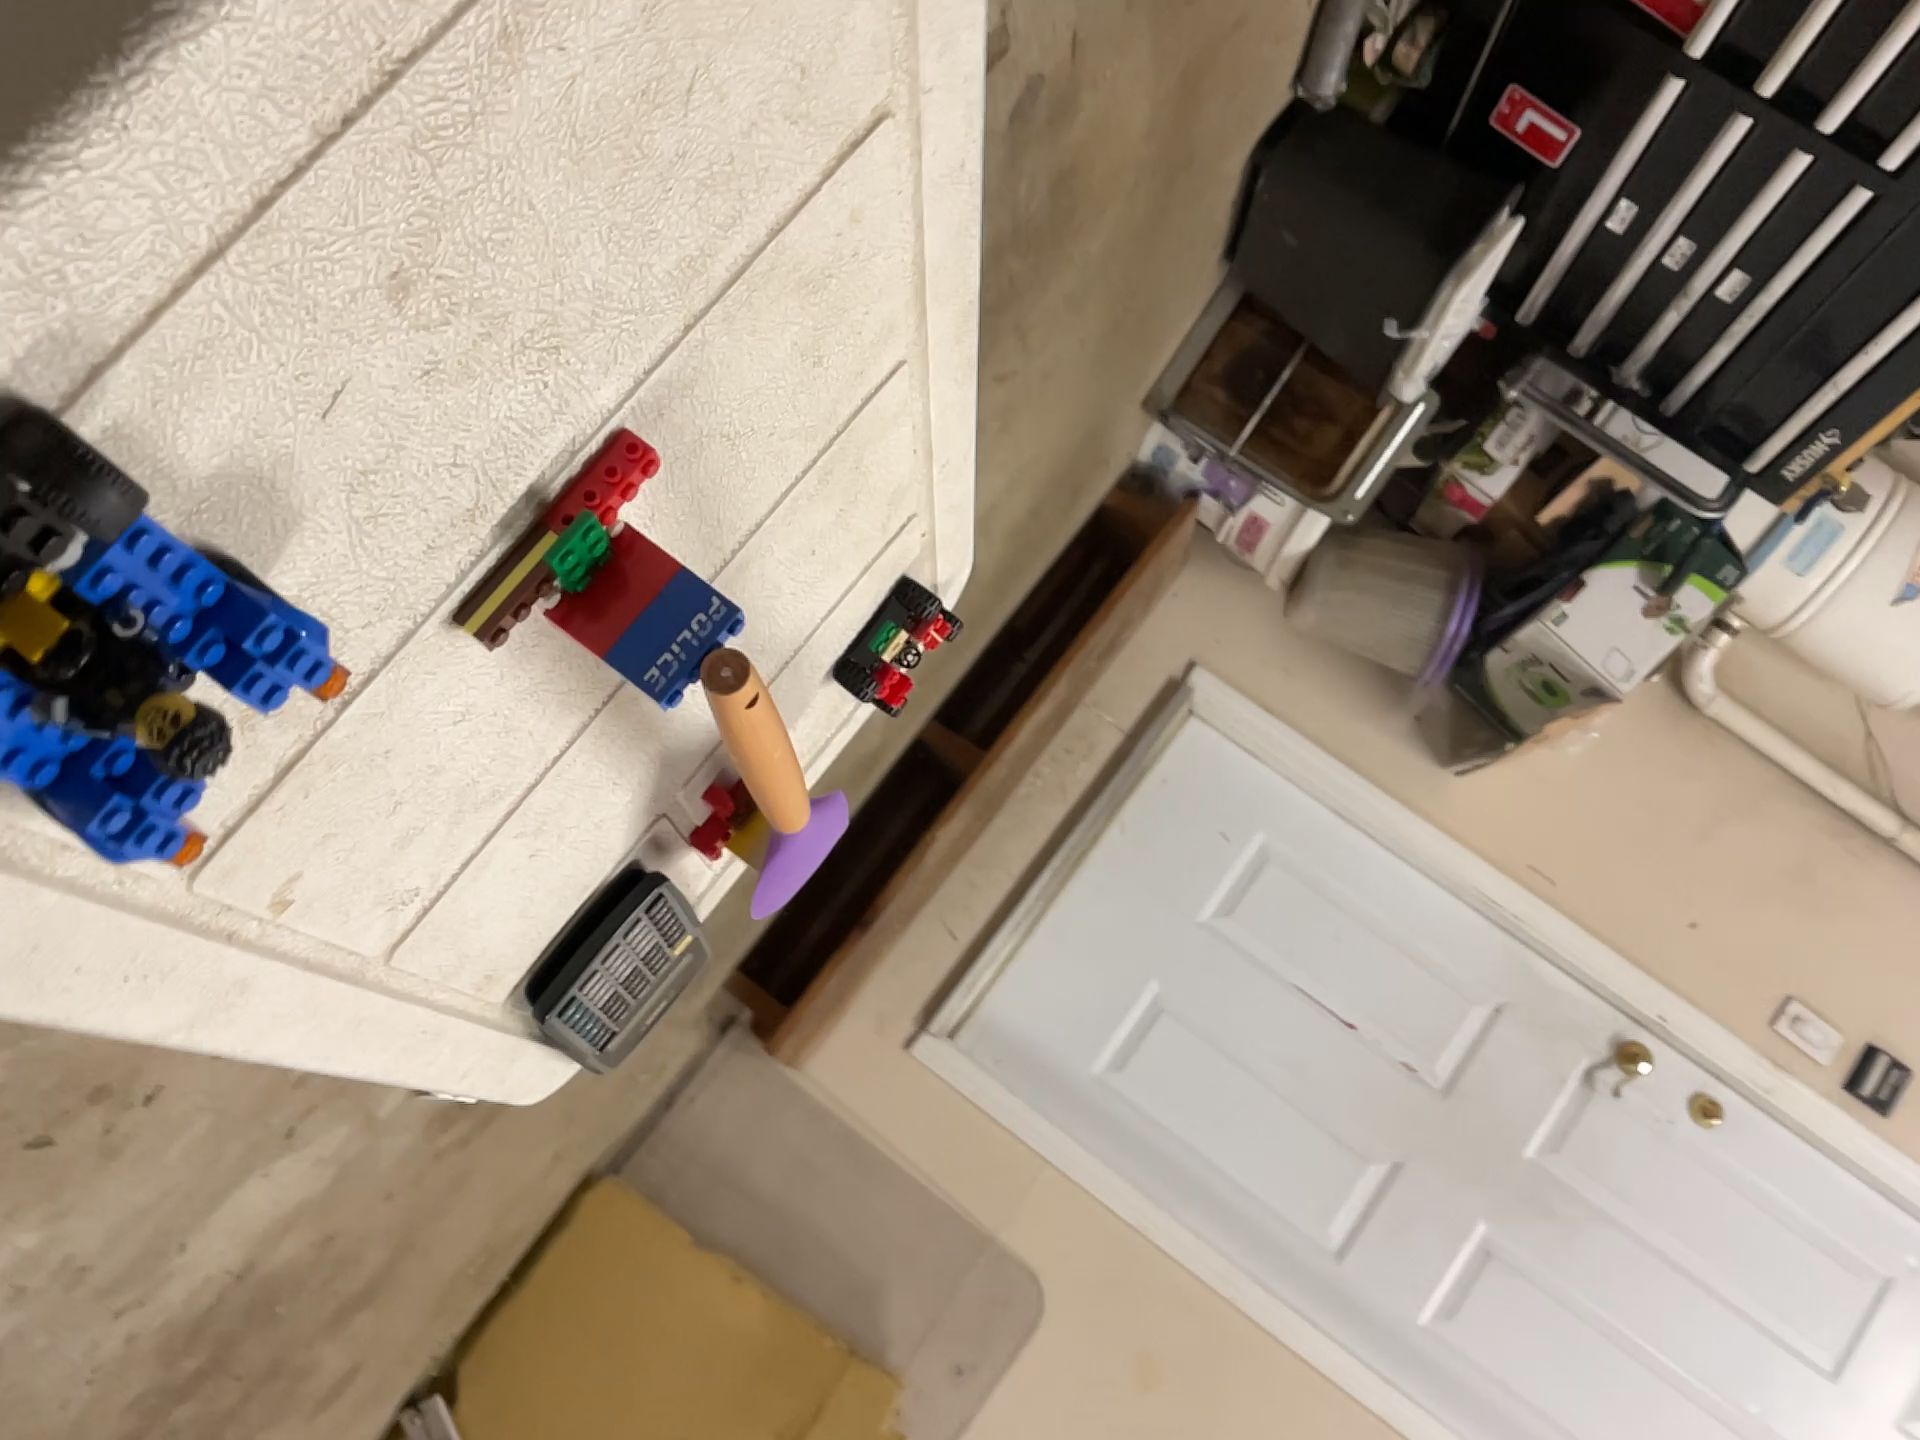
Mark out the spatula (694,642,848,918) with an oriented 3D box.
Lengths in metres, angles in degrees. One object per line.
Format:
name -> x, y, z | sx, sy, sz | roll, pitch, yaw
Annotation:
spatula -> -0.062, 0.028, 0.541 | 0.060, 0.018, 0.315 | -52, 172, -13
